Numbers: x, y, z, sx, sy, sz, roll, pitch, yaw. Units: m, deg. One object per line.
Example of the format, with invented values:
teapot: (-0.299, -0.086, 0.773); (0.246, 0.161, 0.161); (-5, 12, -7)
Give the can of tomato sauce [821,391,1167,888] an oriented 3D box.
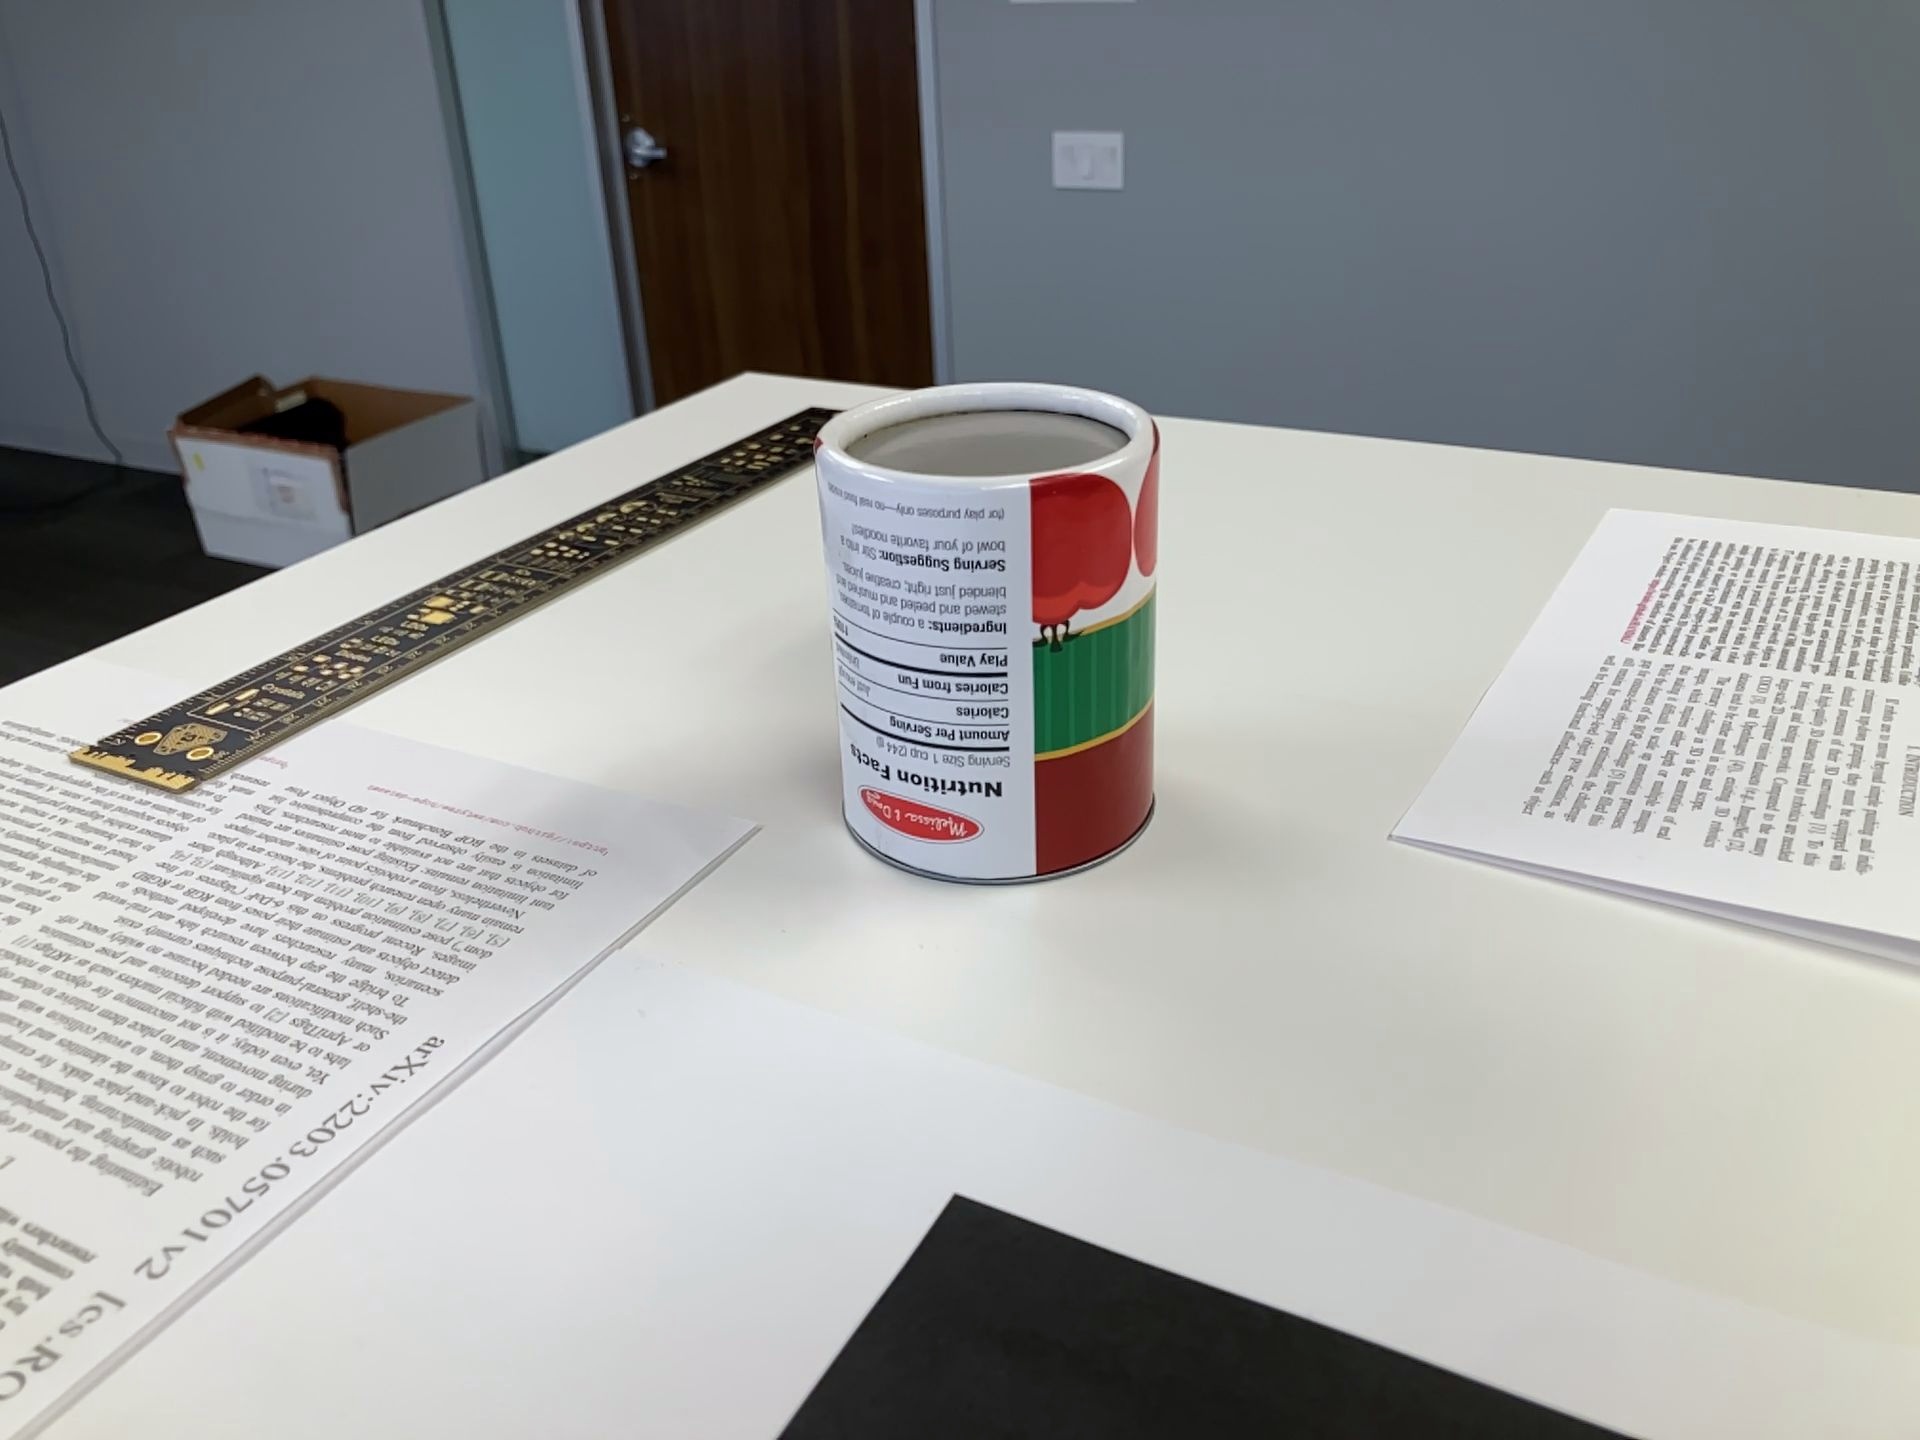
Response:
can of tomato sauce: (0.009, -0.019, 0.323); (0.071, 0.083, 0.071); (-3, 25, 1)
